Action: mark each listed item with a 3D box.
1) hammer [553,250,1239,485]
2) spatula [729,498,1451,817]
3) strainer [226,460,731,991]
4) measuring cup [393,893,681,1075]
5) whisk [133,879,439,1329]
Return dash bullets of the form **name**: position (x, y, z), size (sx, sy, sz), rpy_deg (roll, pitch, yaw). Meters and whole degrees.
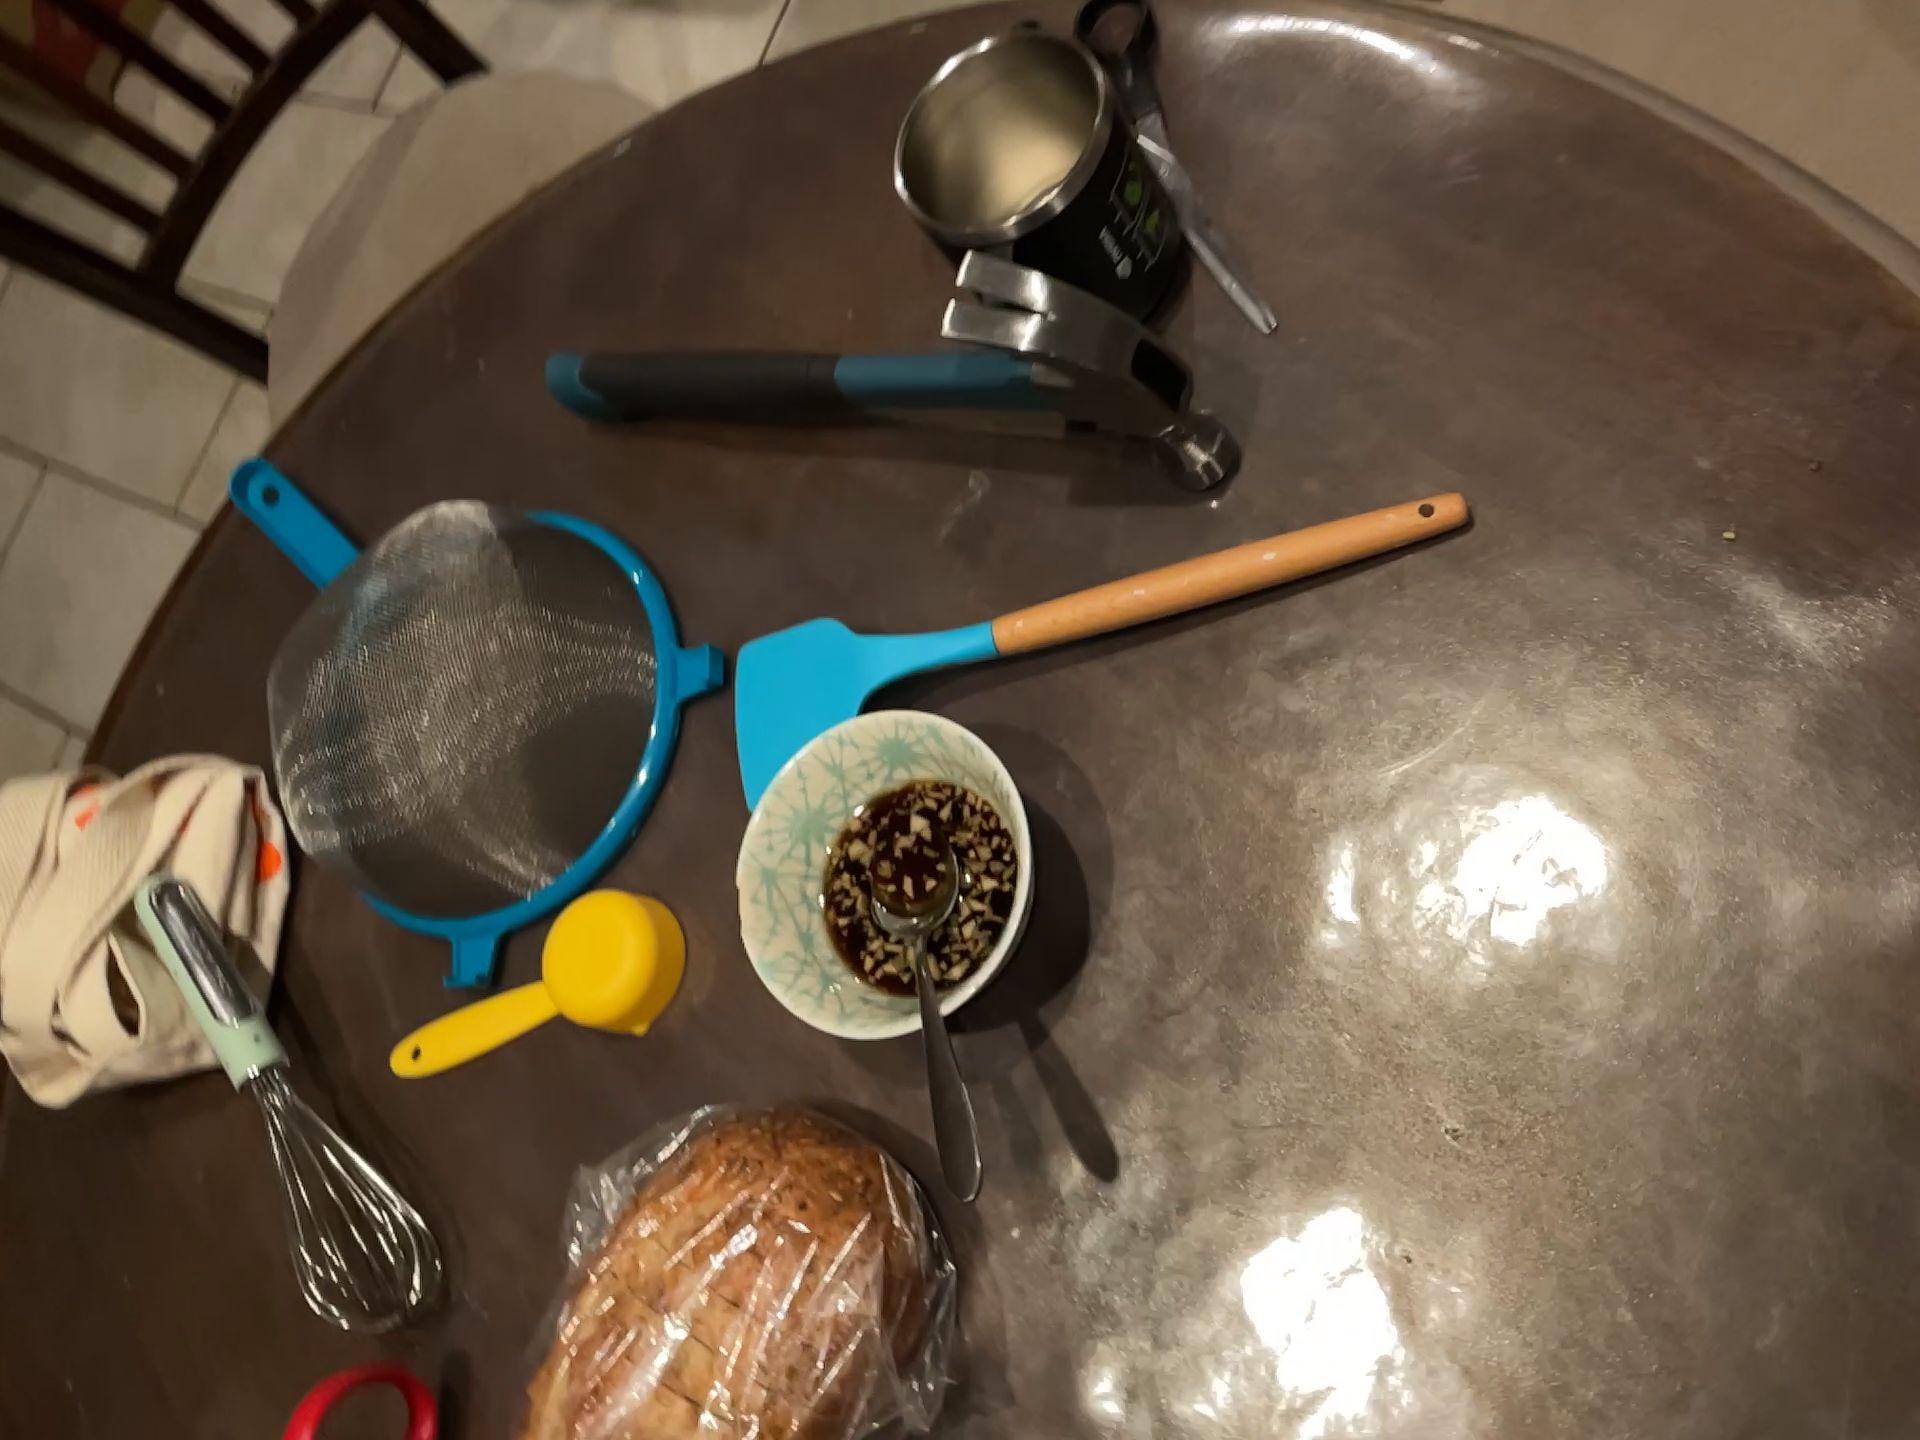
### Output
- **hammer**: position (-0.053, -0.145, 0.691), size (0.331, 0.128, 0.033), rpy_deg (8, 74, 36)
- **spatula**: position (0.038, -0.037, 0.650), size (0.317, 0.044, 0.082), rpy_deg (-14, 67, 16)
- **strainer**: position (-0.282, -0.046, 0.762), size (0.340, 0.095, 0.211), rpy_deg (39, 92, 26)
- **measuring cup**: position (-0.194, 0.122, 0.701), size (0.156, 0.029, 0.062), rpy_deg (-25, 64, 15)
- **whisk**: position (-0.307, 0.165, 0.715), size (0.246, 0.058, 0.059), rpy_deg (49, 128, 20)
